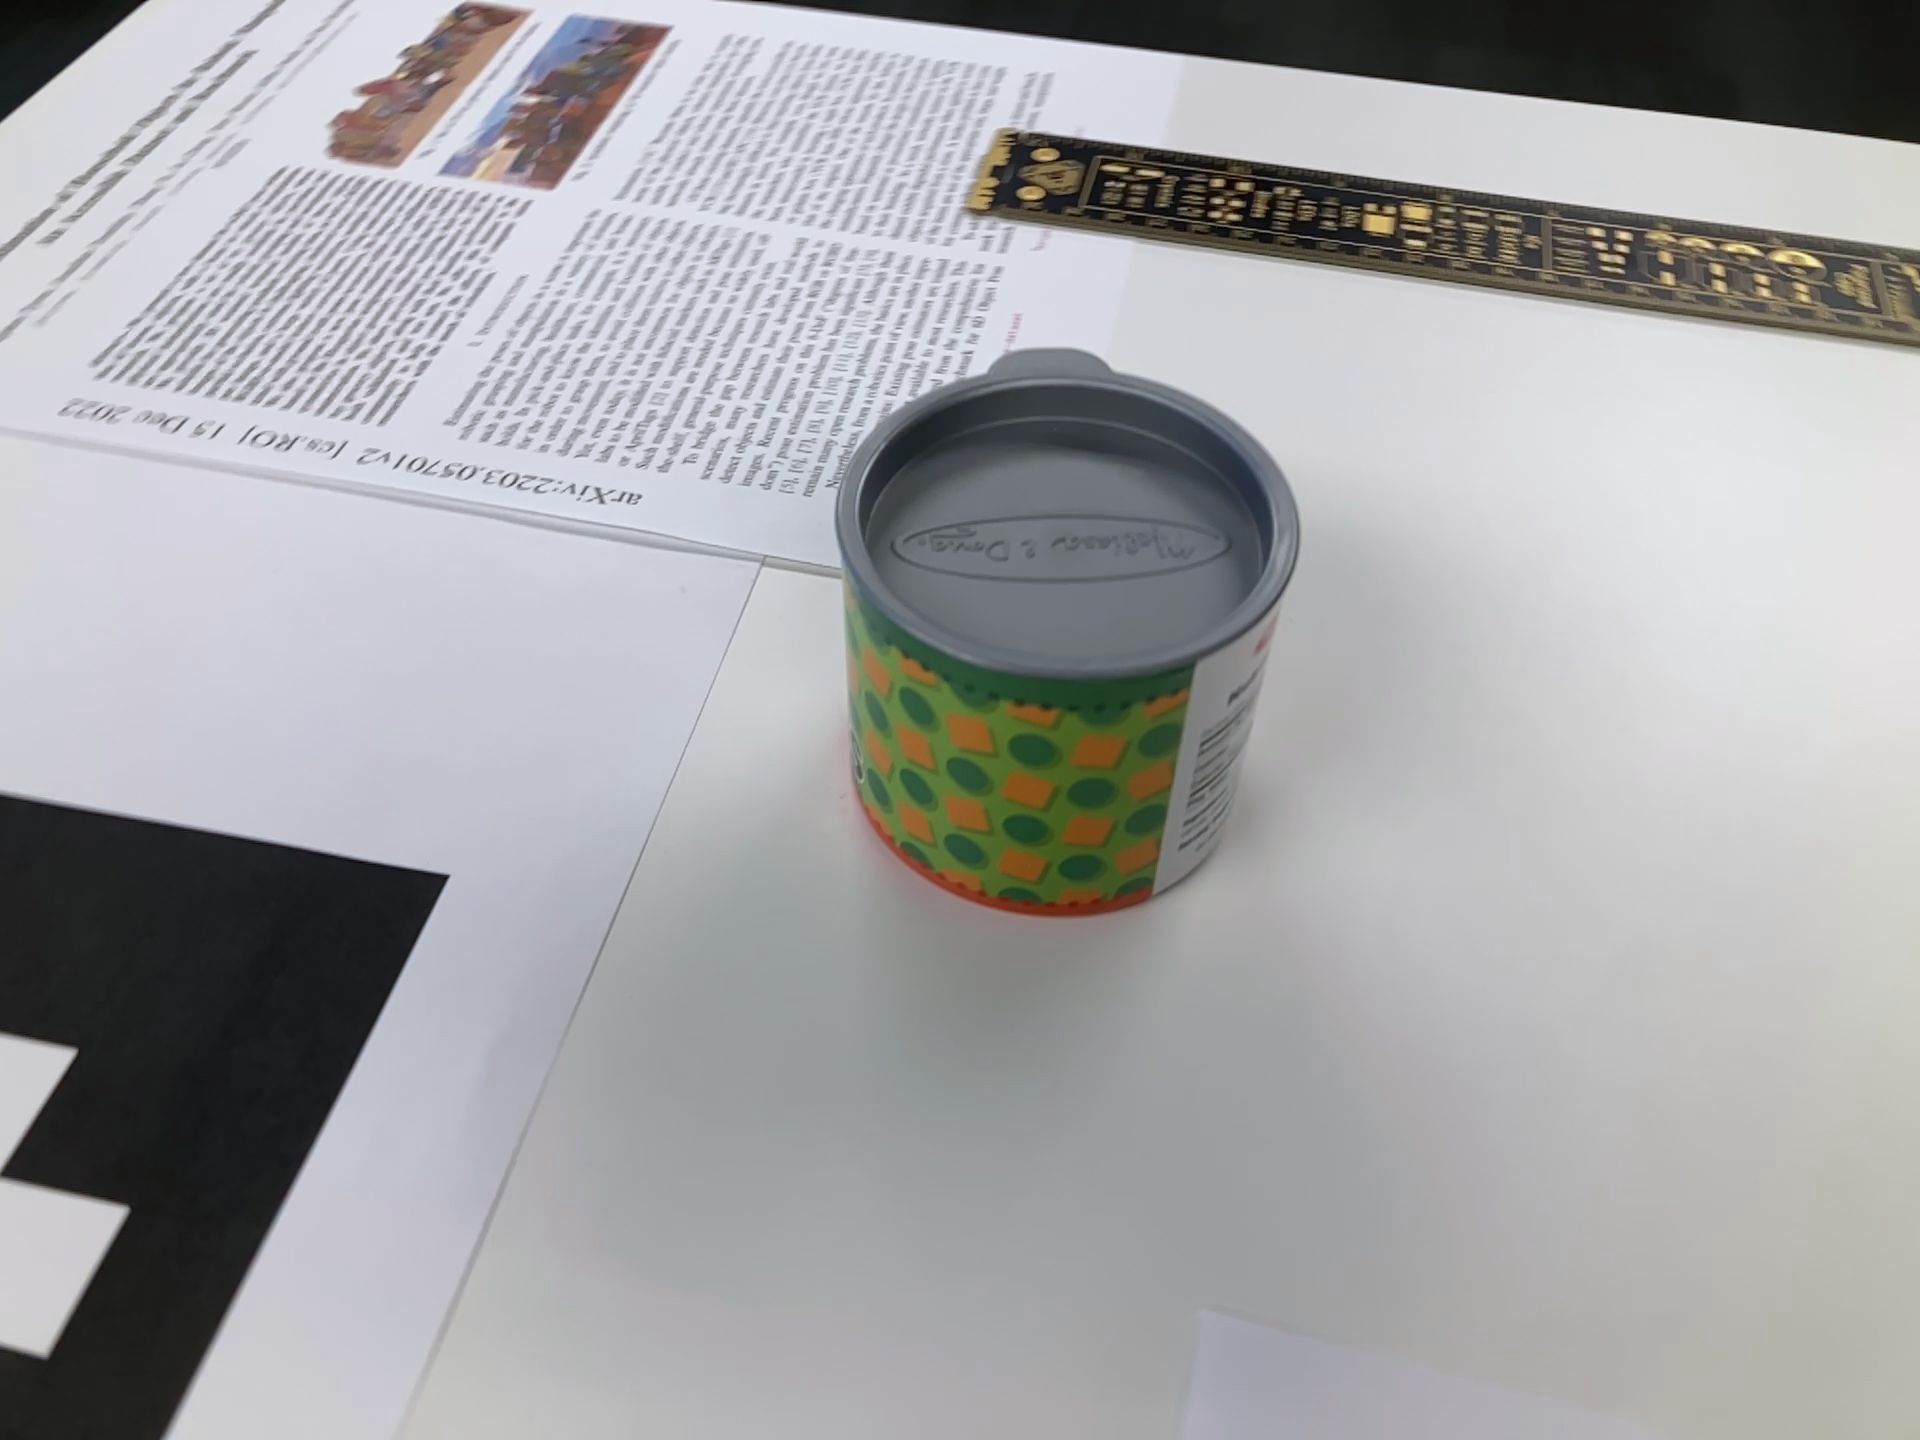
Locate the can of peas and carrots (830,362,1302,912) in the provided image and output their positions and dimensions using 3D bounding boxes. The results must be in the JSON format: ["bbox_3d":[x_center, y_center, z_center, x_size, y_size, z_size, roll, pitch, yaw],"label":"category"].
[{"bbox_3d":[0.013,-0.013,0.249,0.071,0.059,0.071,1,49,-1],"label":"can of peas and carrots"}]
